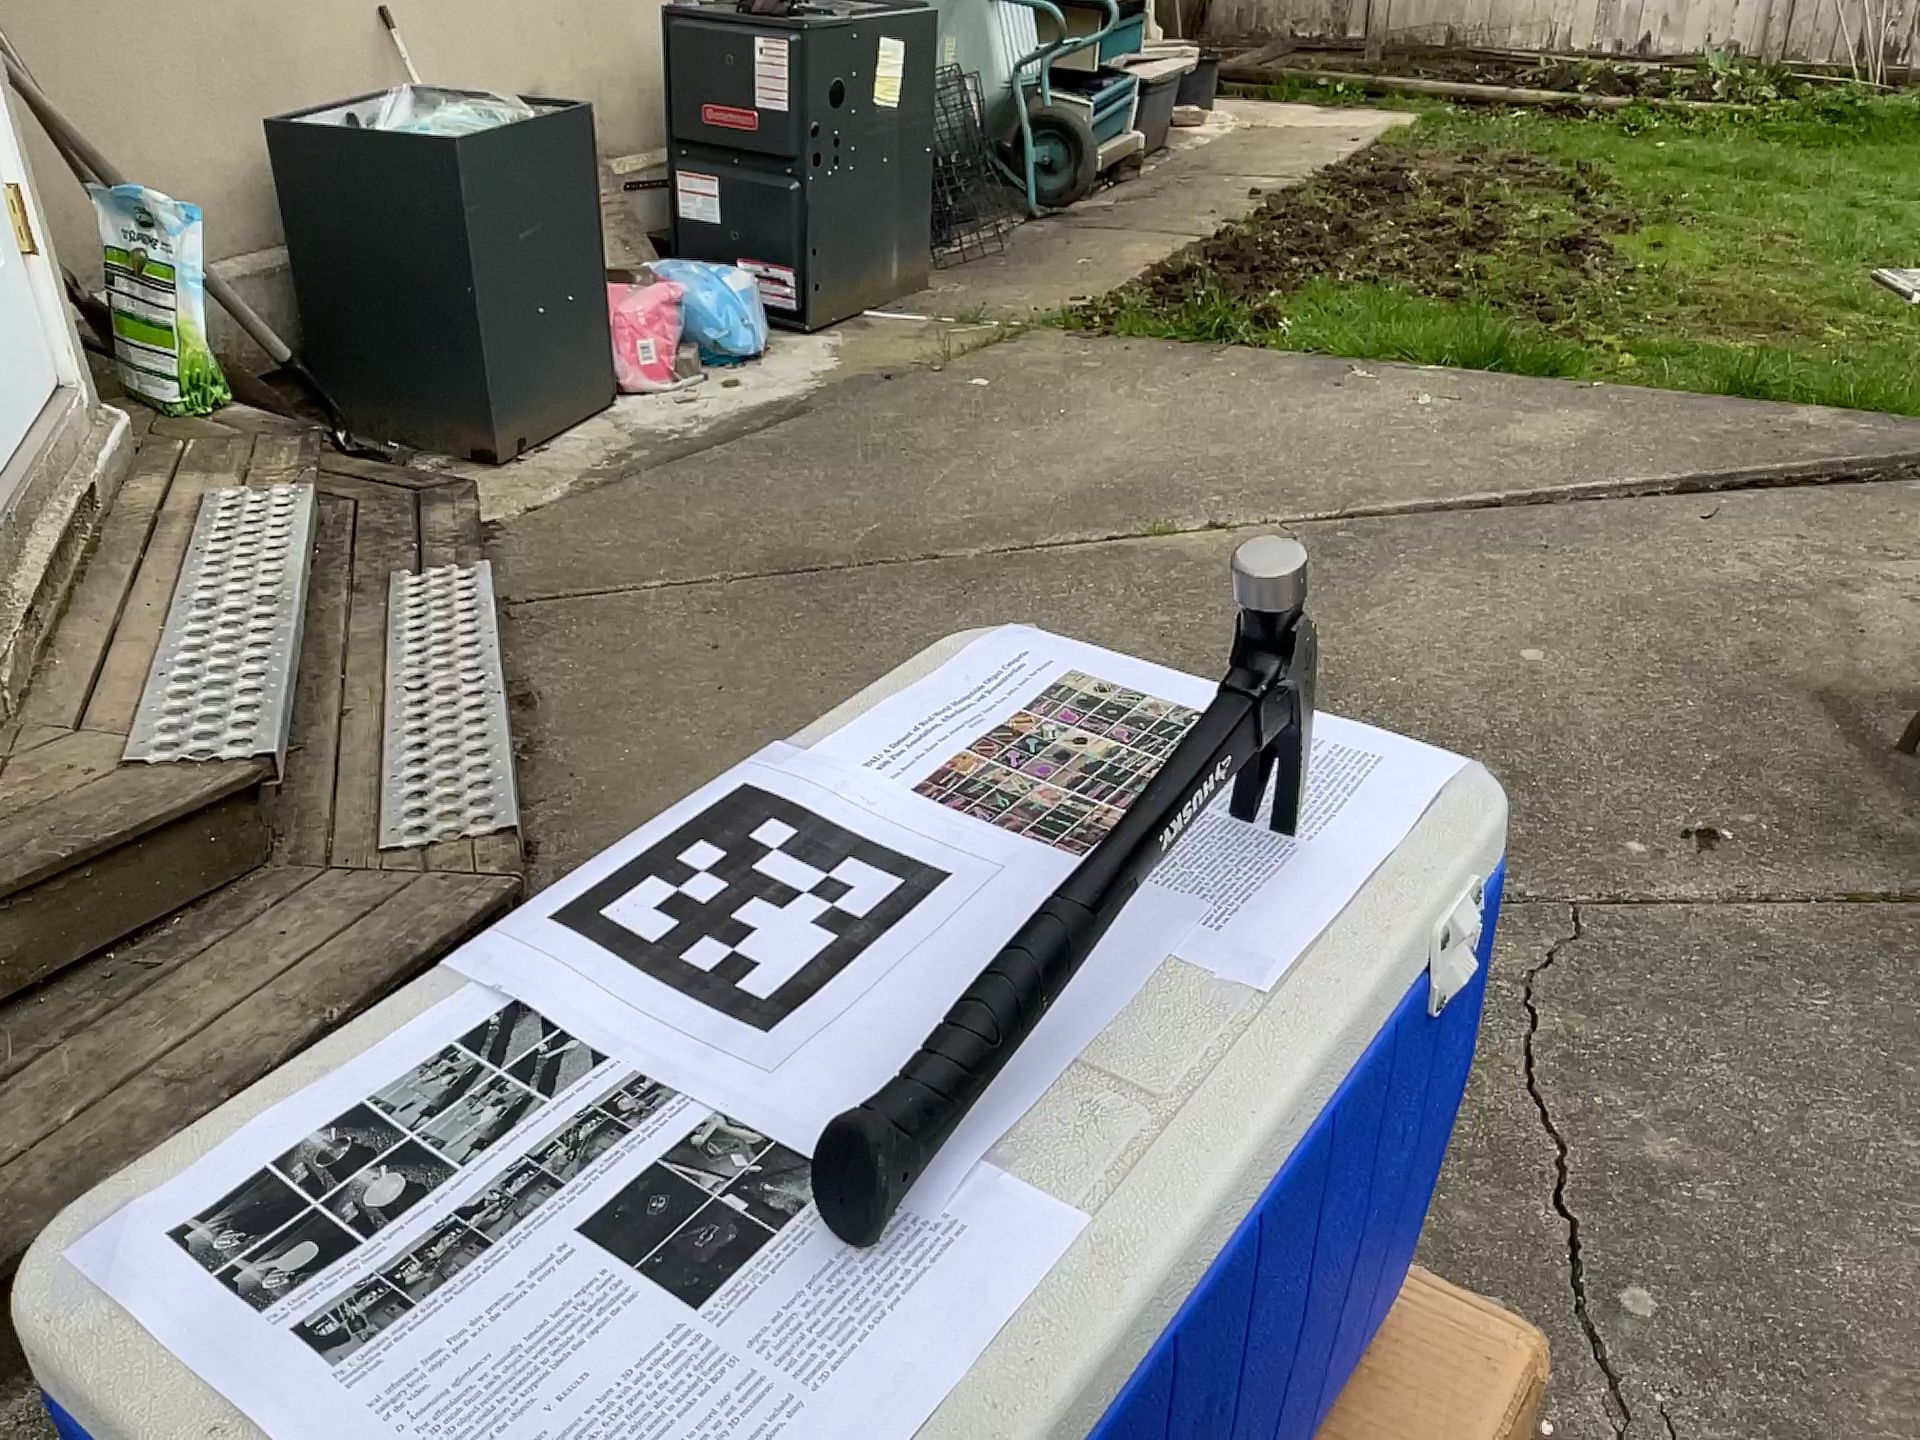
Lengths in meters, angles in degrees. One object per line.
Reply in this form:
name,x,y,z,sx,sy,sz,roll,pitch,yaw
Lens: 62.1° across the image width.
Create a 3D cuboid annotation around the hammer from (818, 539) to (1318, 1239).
hammer,0.057,0.073,0.643,0.035,0.146,0.334,18,47,32
